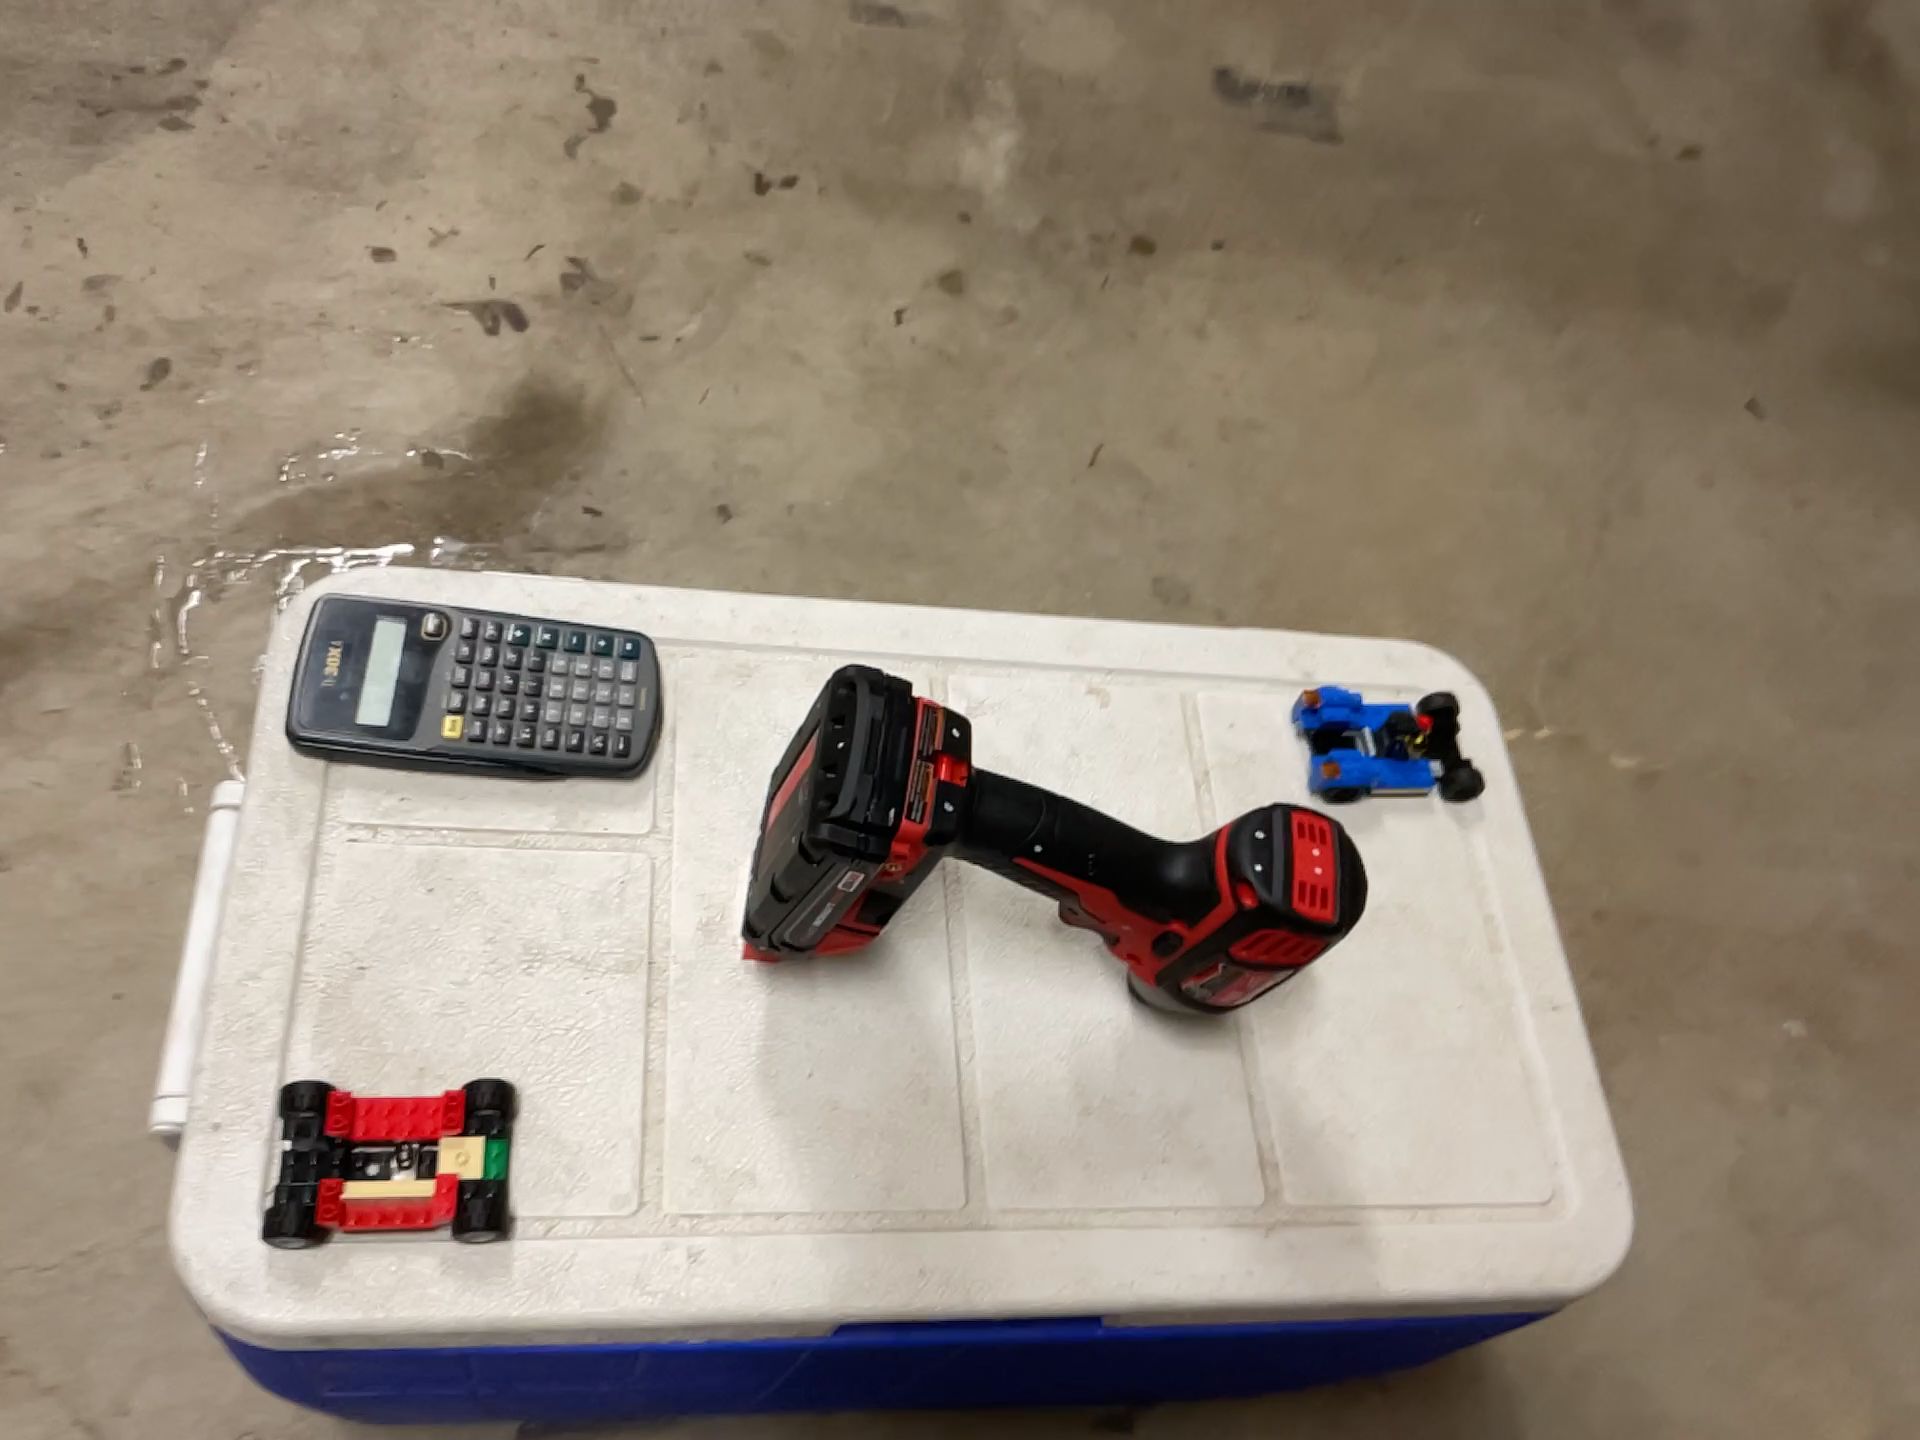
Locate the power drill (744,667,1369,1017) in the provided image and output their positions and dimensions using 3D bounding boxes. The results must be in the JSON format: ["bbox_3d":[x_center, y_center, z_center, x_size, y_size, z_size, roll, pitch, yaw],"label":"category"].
[{"bbox_3d":[0.034,0.065,0.638,0.219,0.143,0.079,16,57,-14],"label":"power drill"}]
